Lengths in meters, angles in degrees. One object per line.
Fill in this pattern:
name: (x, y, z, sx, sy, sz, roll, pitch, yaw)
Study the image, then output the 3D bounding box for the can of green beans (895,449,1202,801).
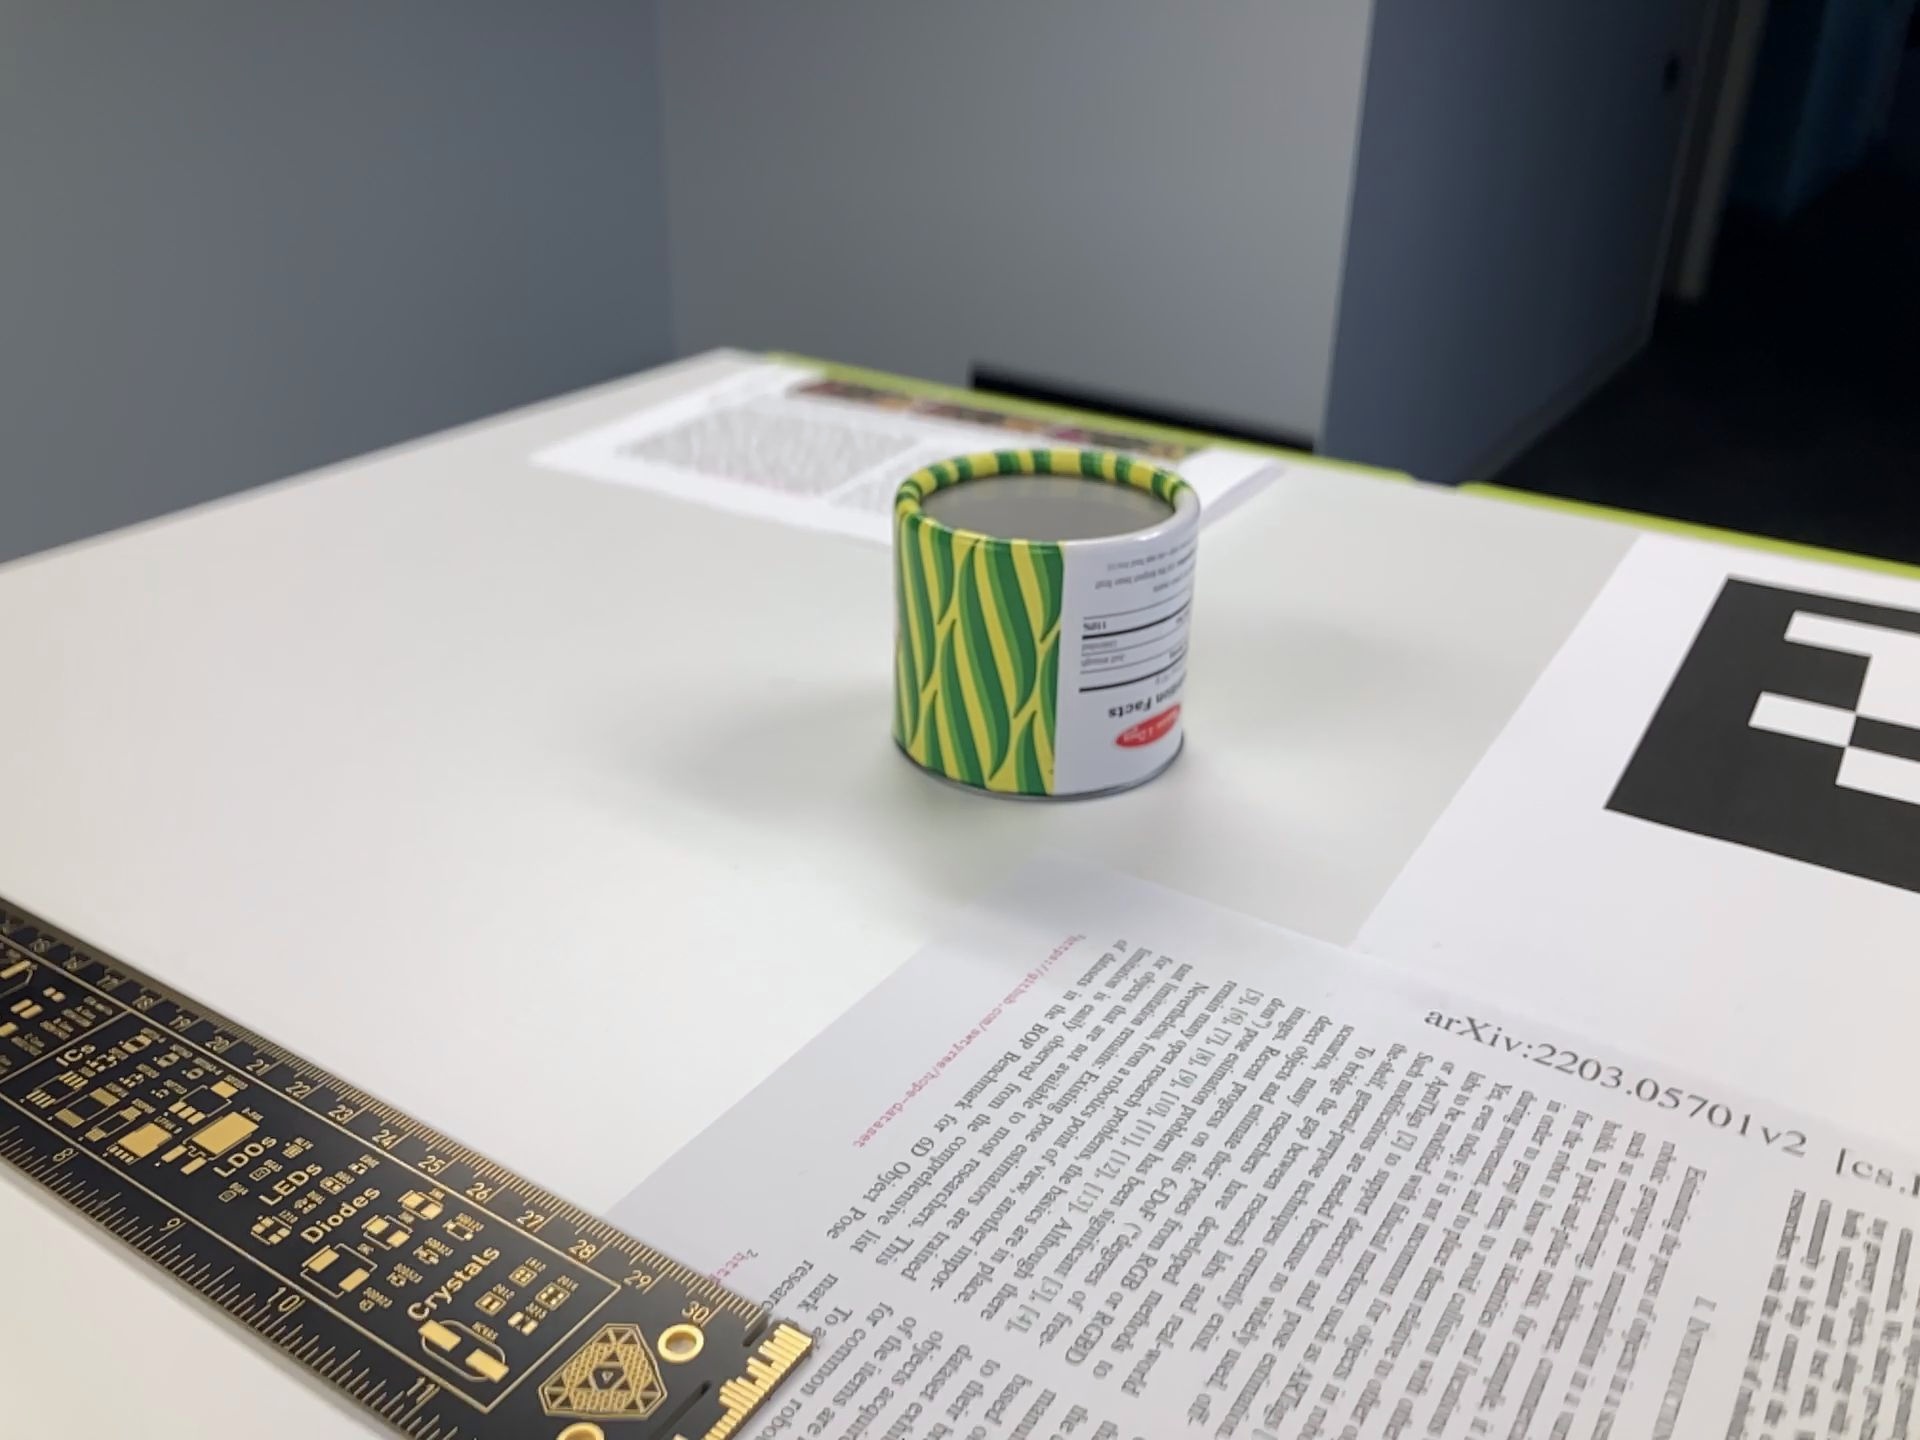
can of green beans: (0.018, -0.023, 0.356, 0.071, 0.058, 0.071, 1, 27, 0)
